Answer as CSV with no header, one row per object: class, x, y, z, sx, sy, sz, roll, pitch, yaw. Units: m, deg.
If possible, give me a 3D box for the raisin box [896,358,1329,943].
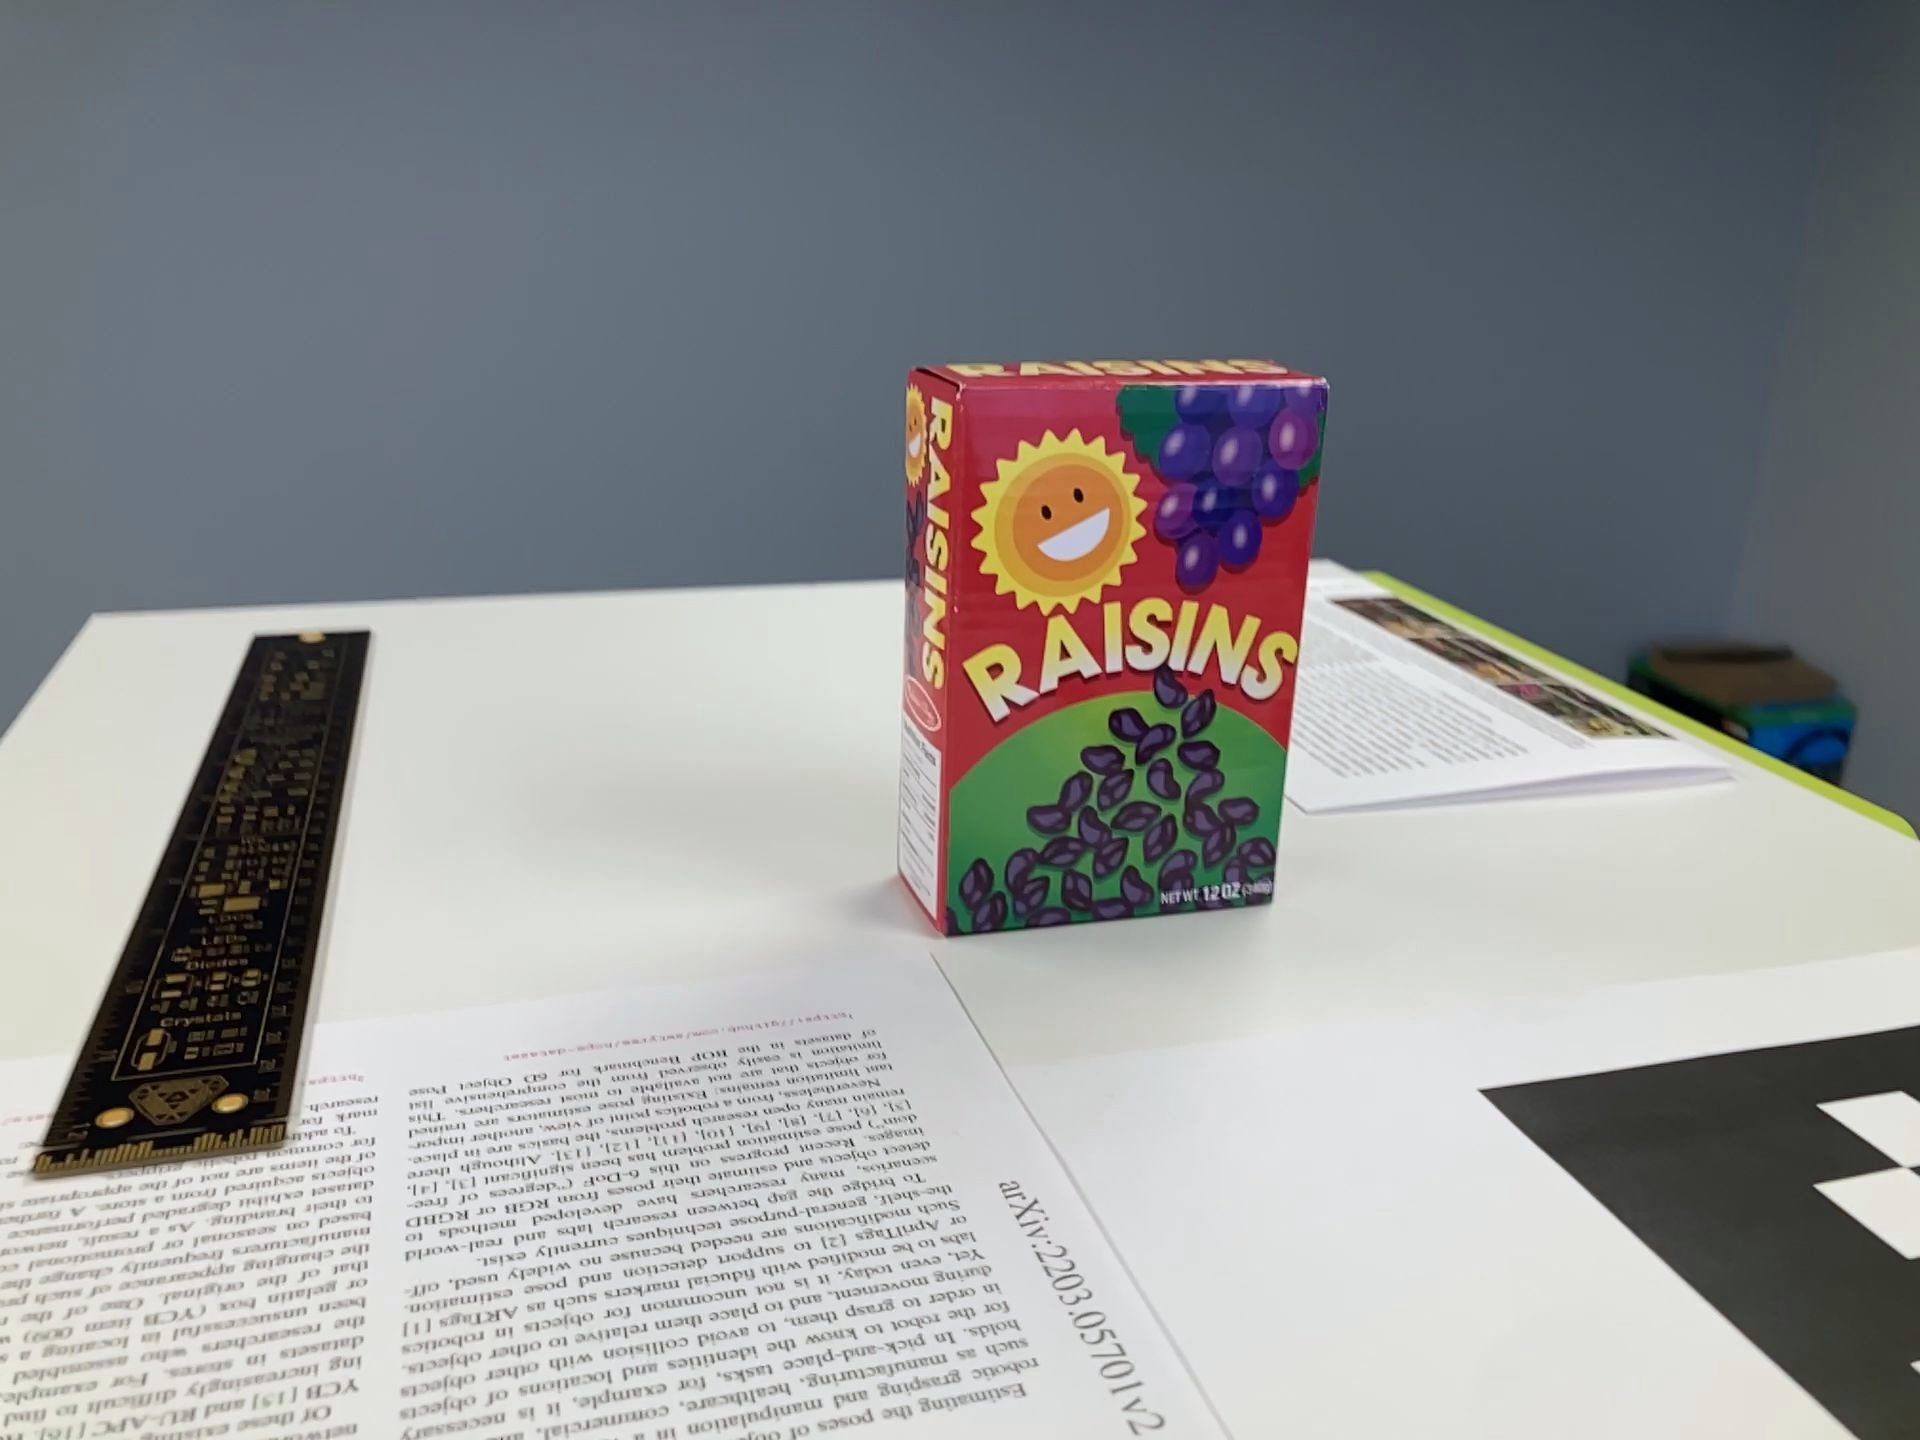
raisin box,0.032,-0.017,0.359,0.086,0.123,0.040,-4,20,-16
